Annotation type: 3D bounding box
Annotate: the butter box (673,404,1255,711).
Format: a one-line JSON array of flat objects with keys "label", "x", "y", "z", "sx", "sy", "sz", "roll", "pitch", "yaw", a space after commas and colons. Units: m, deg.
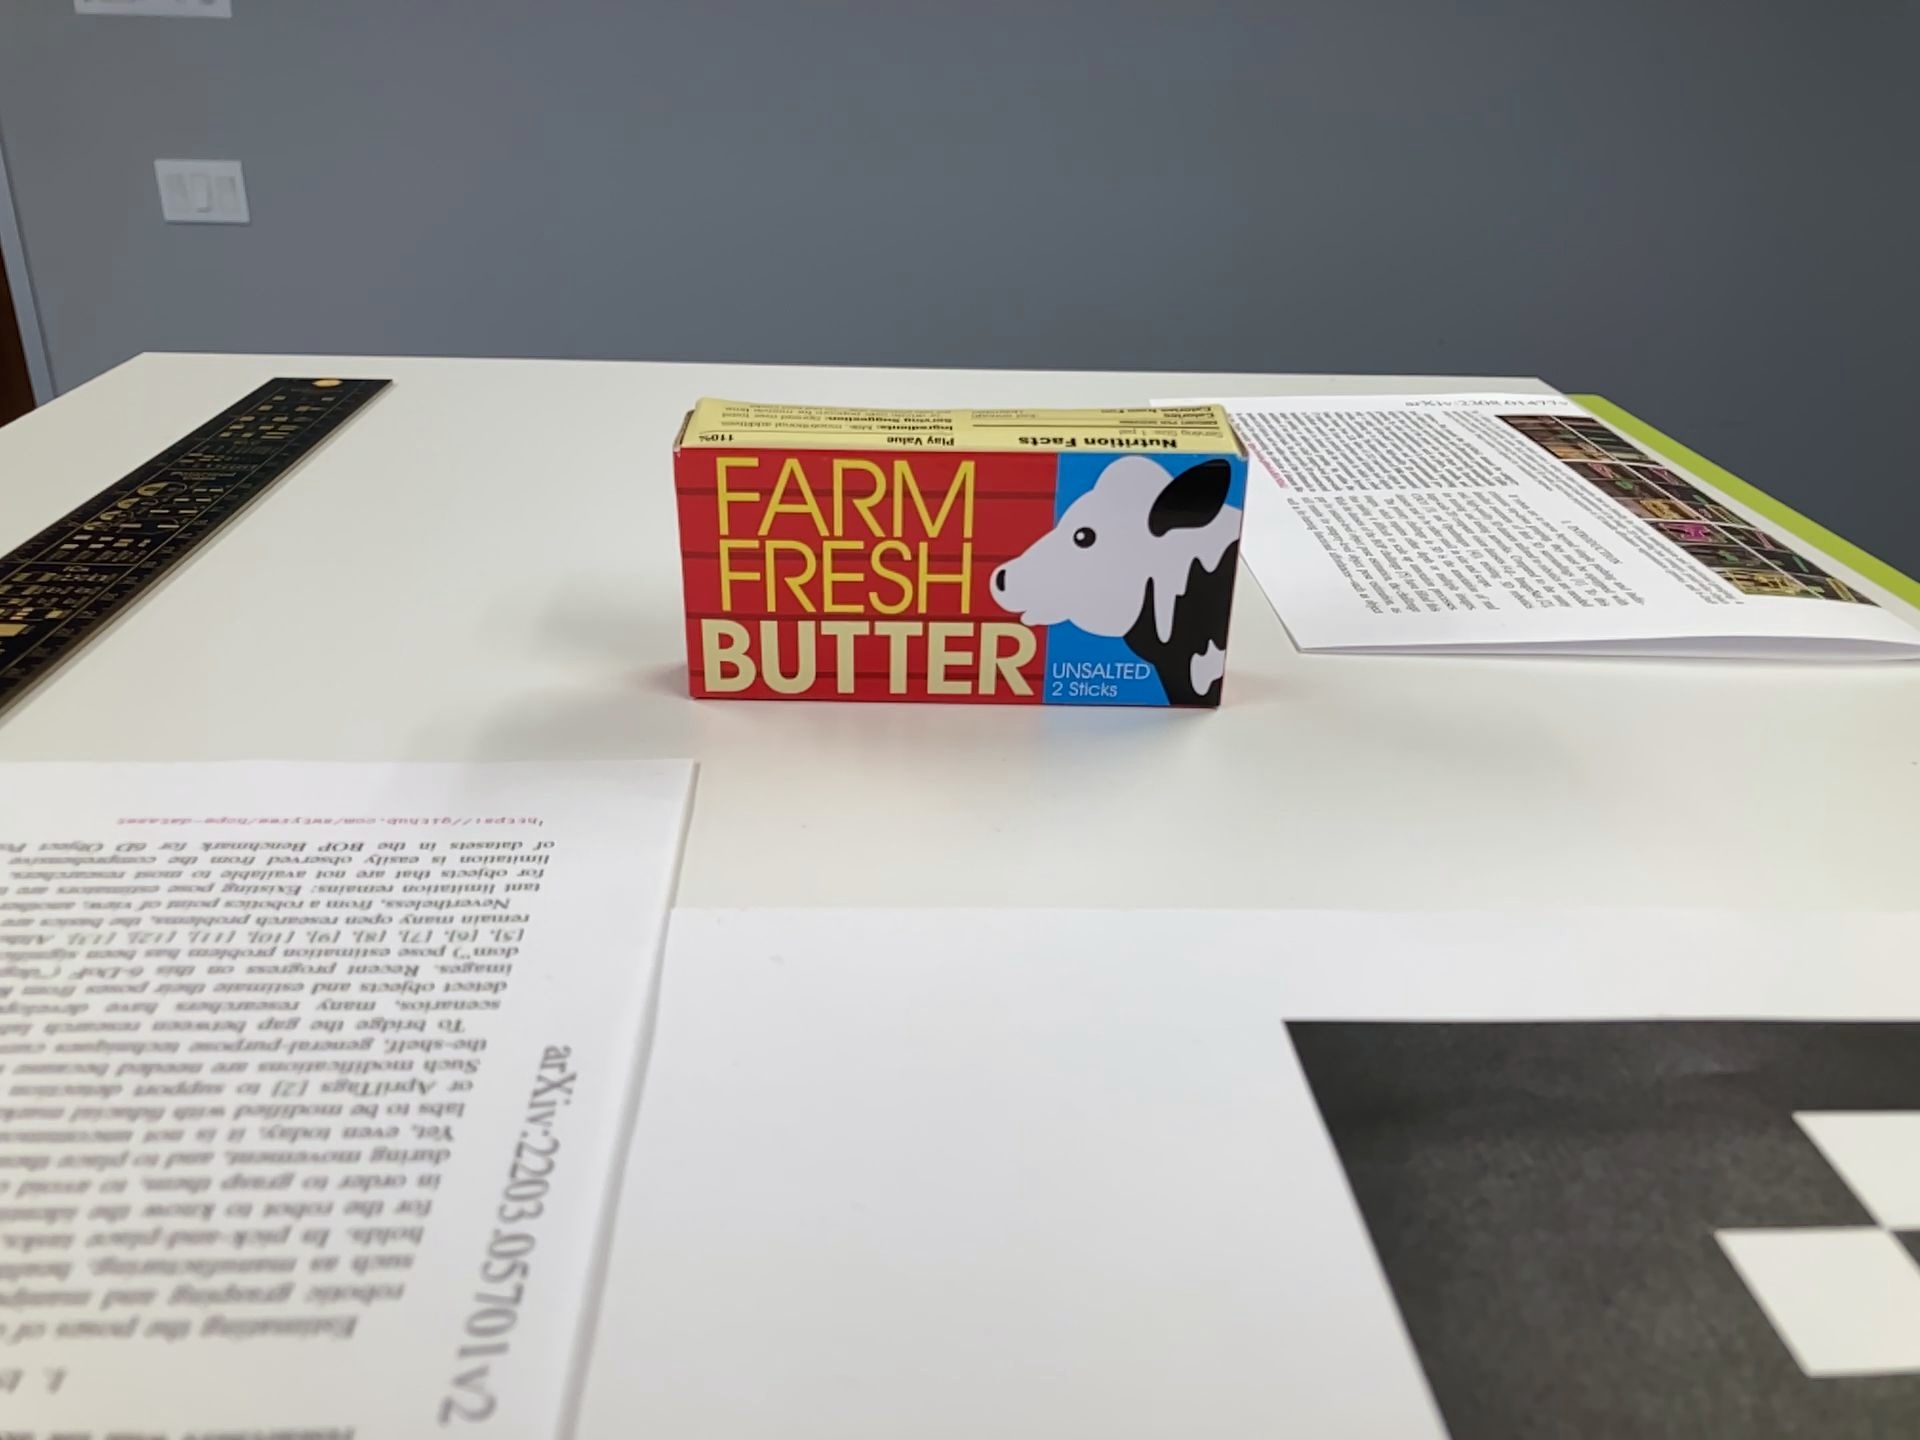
[{"label": "butter box", "x": -0.001, "y": -0.030, "z": 0.298, "sx": 0.103, "sy": 0.053, "sz": 0.024, "roll": 0, "pitch": 28, "yaw": -3}]
